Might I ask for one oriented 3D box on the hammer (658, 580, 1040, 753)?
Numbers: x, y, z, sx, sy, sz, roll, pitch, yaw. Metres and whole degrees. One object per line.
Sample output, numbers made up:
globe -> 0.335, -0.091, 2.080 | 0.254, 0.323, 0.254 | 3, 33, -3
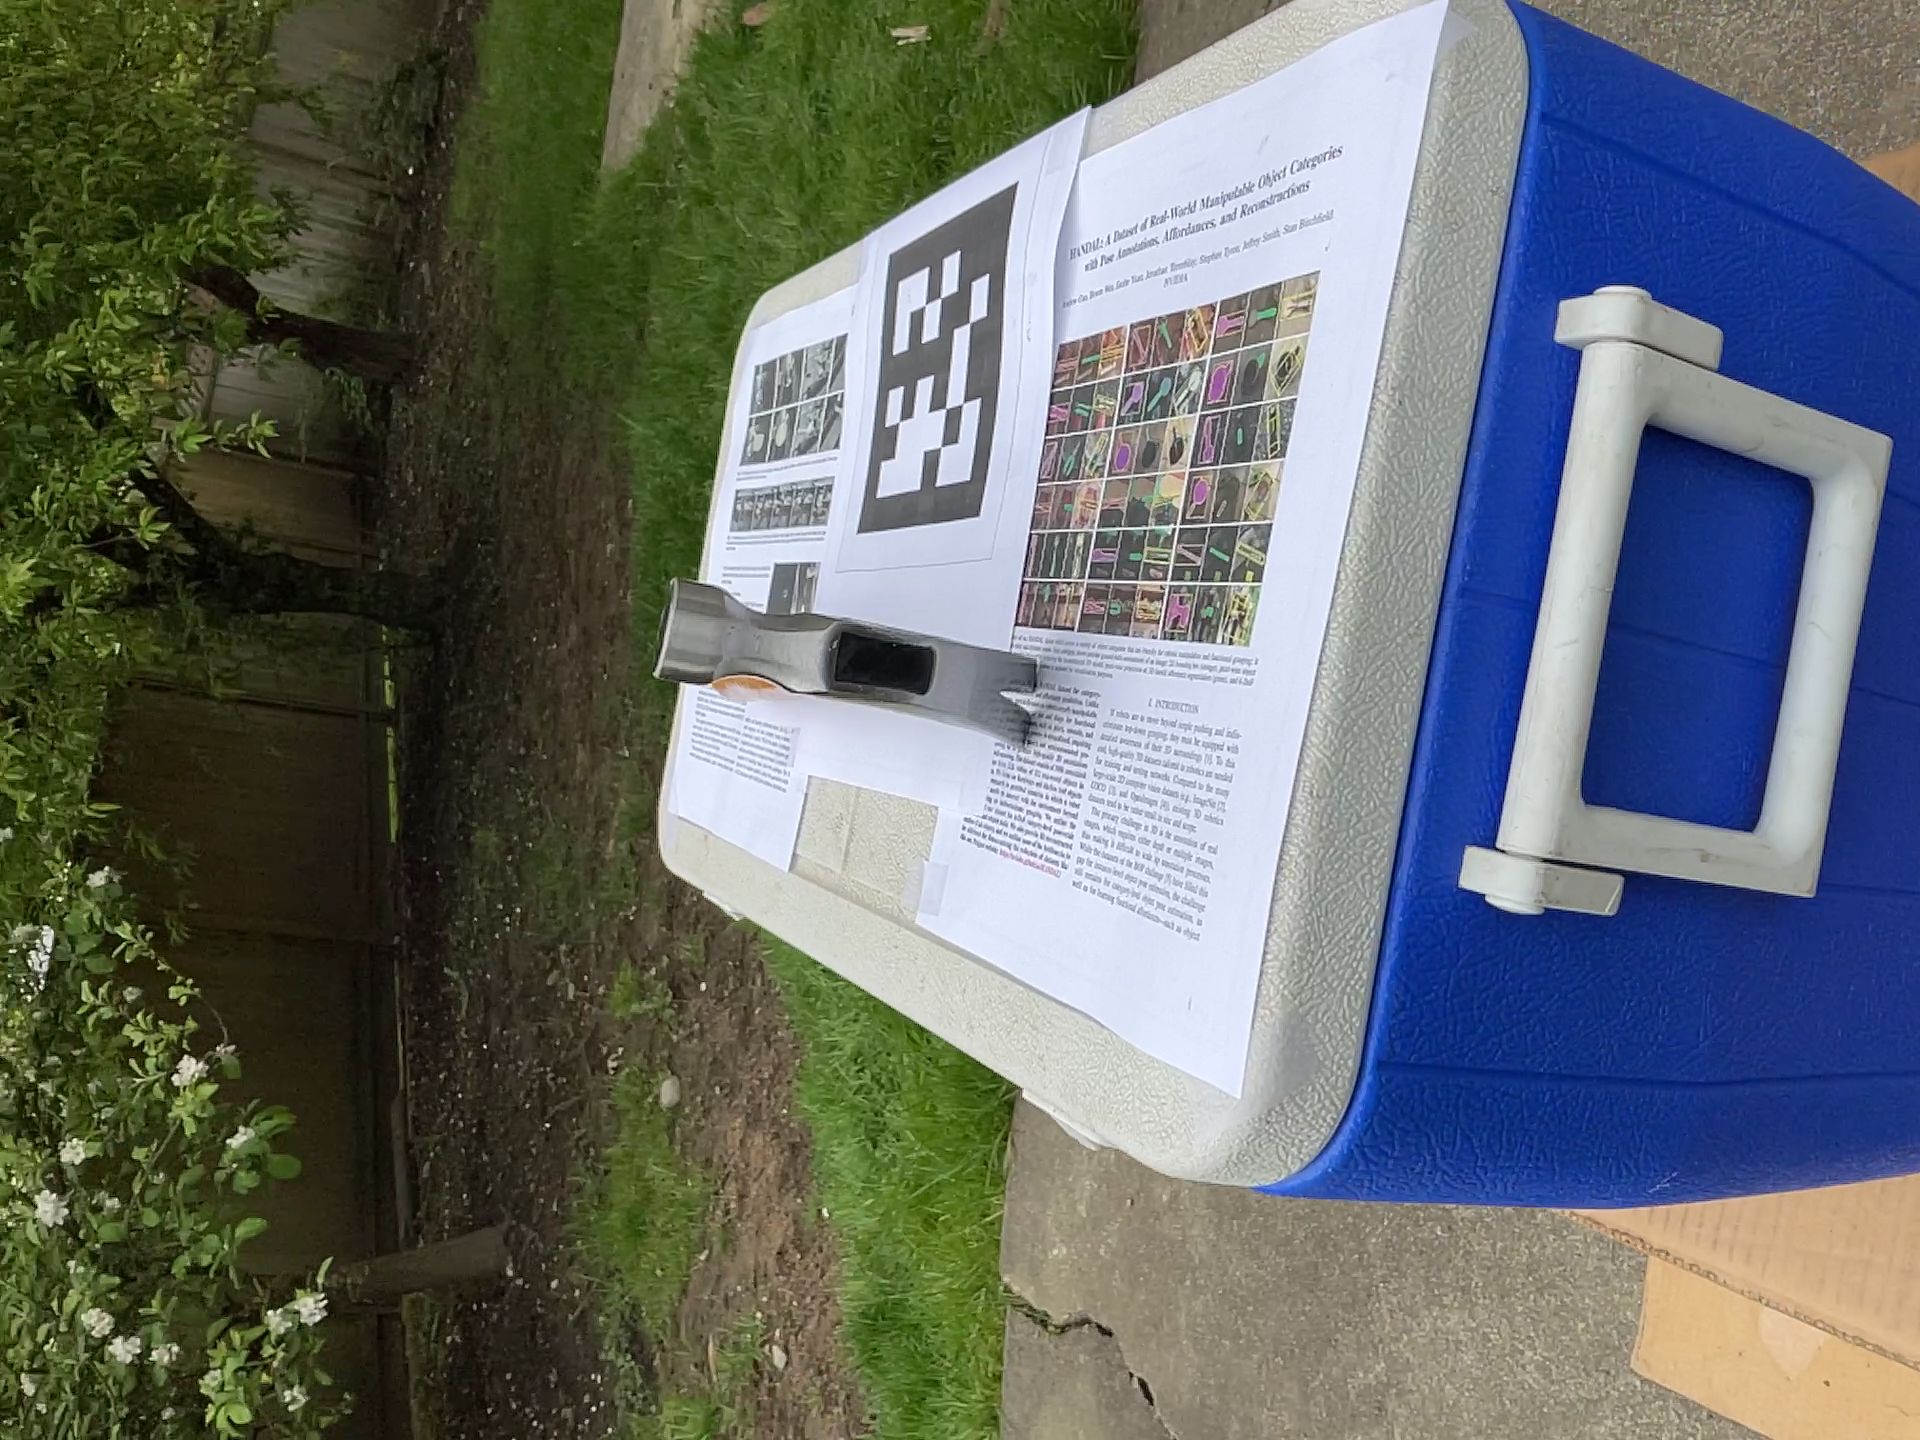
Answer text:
hammer -> -0.062, -0.019, 0.635 | 0.331, 0.130, 0.031 | -175, 95, -76
